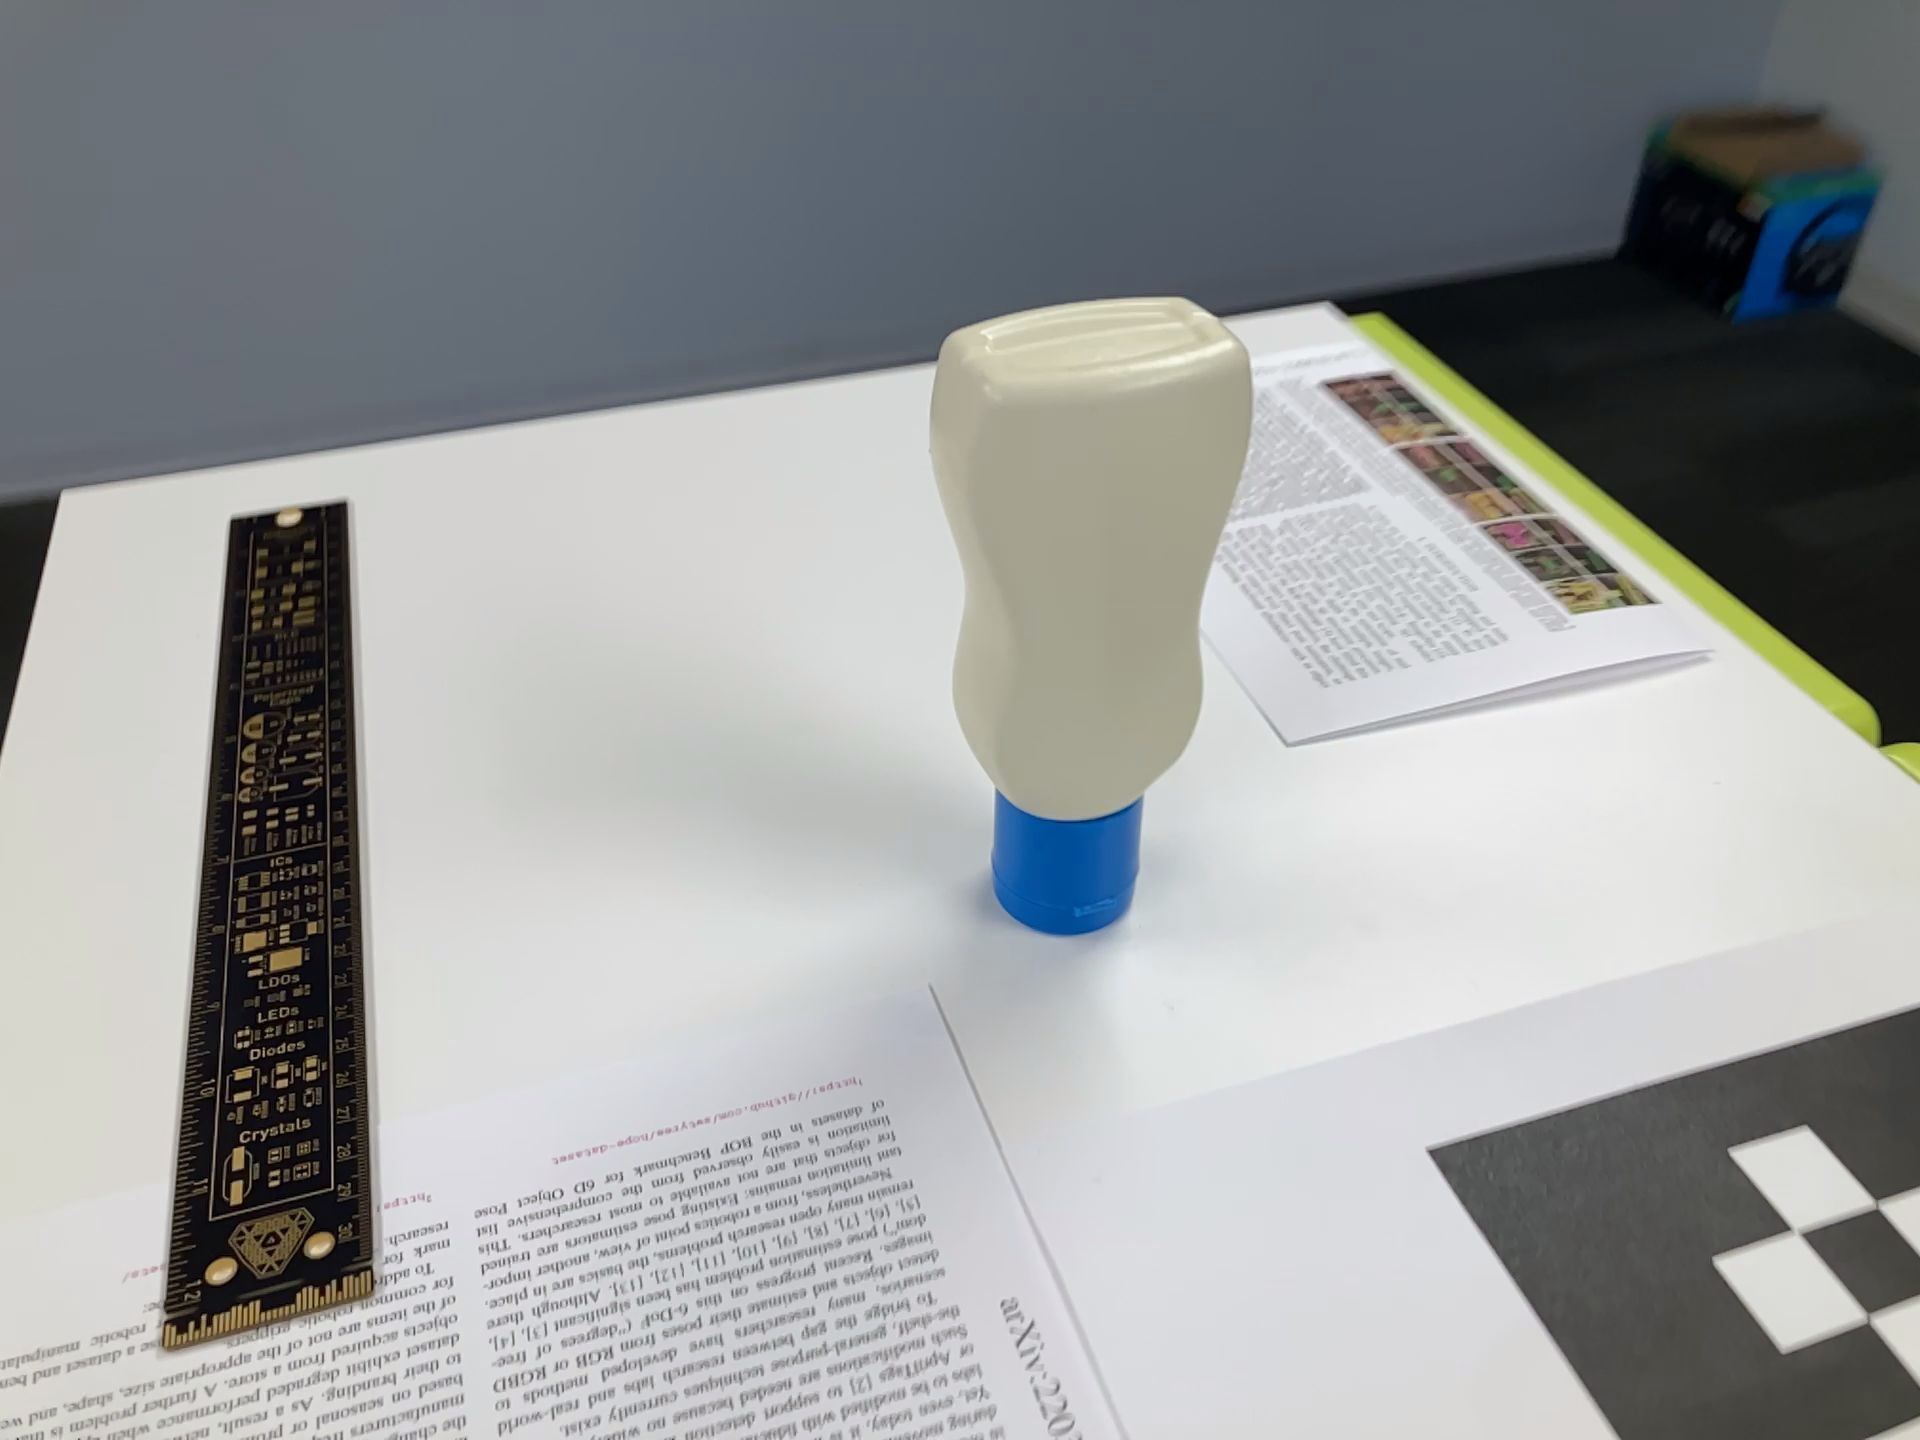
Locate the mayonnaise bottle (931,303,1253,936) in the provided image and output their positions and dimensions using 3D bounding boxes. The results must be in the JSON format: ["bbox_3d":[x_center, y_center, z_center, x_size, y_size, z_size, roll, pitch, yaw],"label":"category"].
[{"bbox_3d":[0.027,-0.016,0.357,0.065,0.148,0.041,-12,39,-15],"label":"mayonnaise bottle"}]
